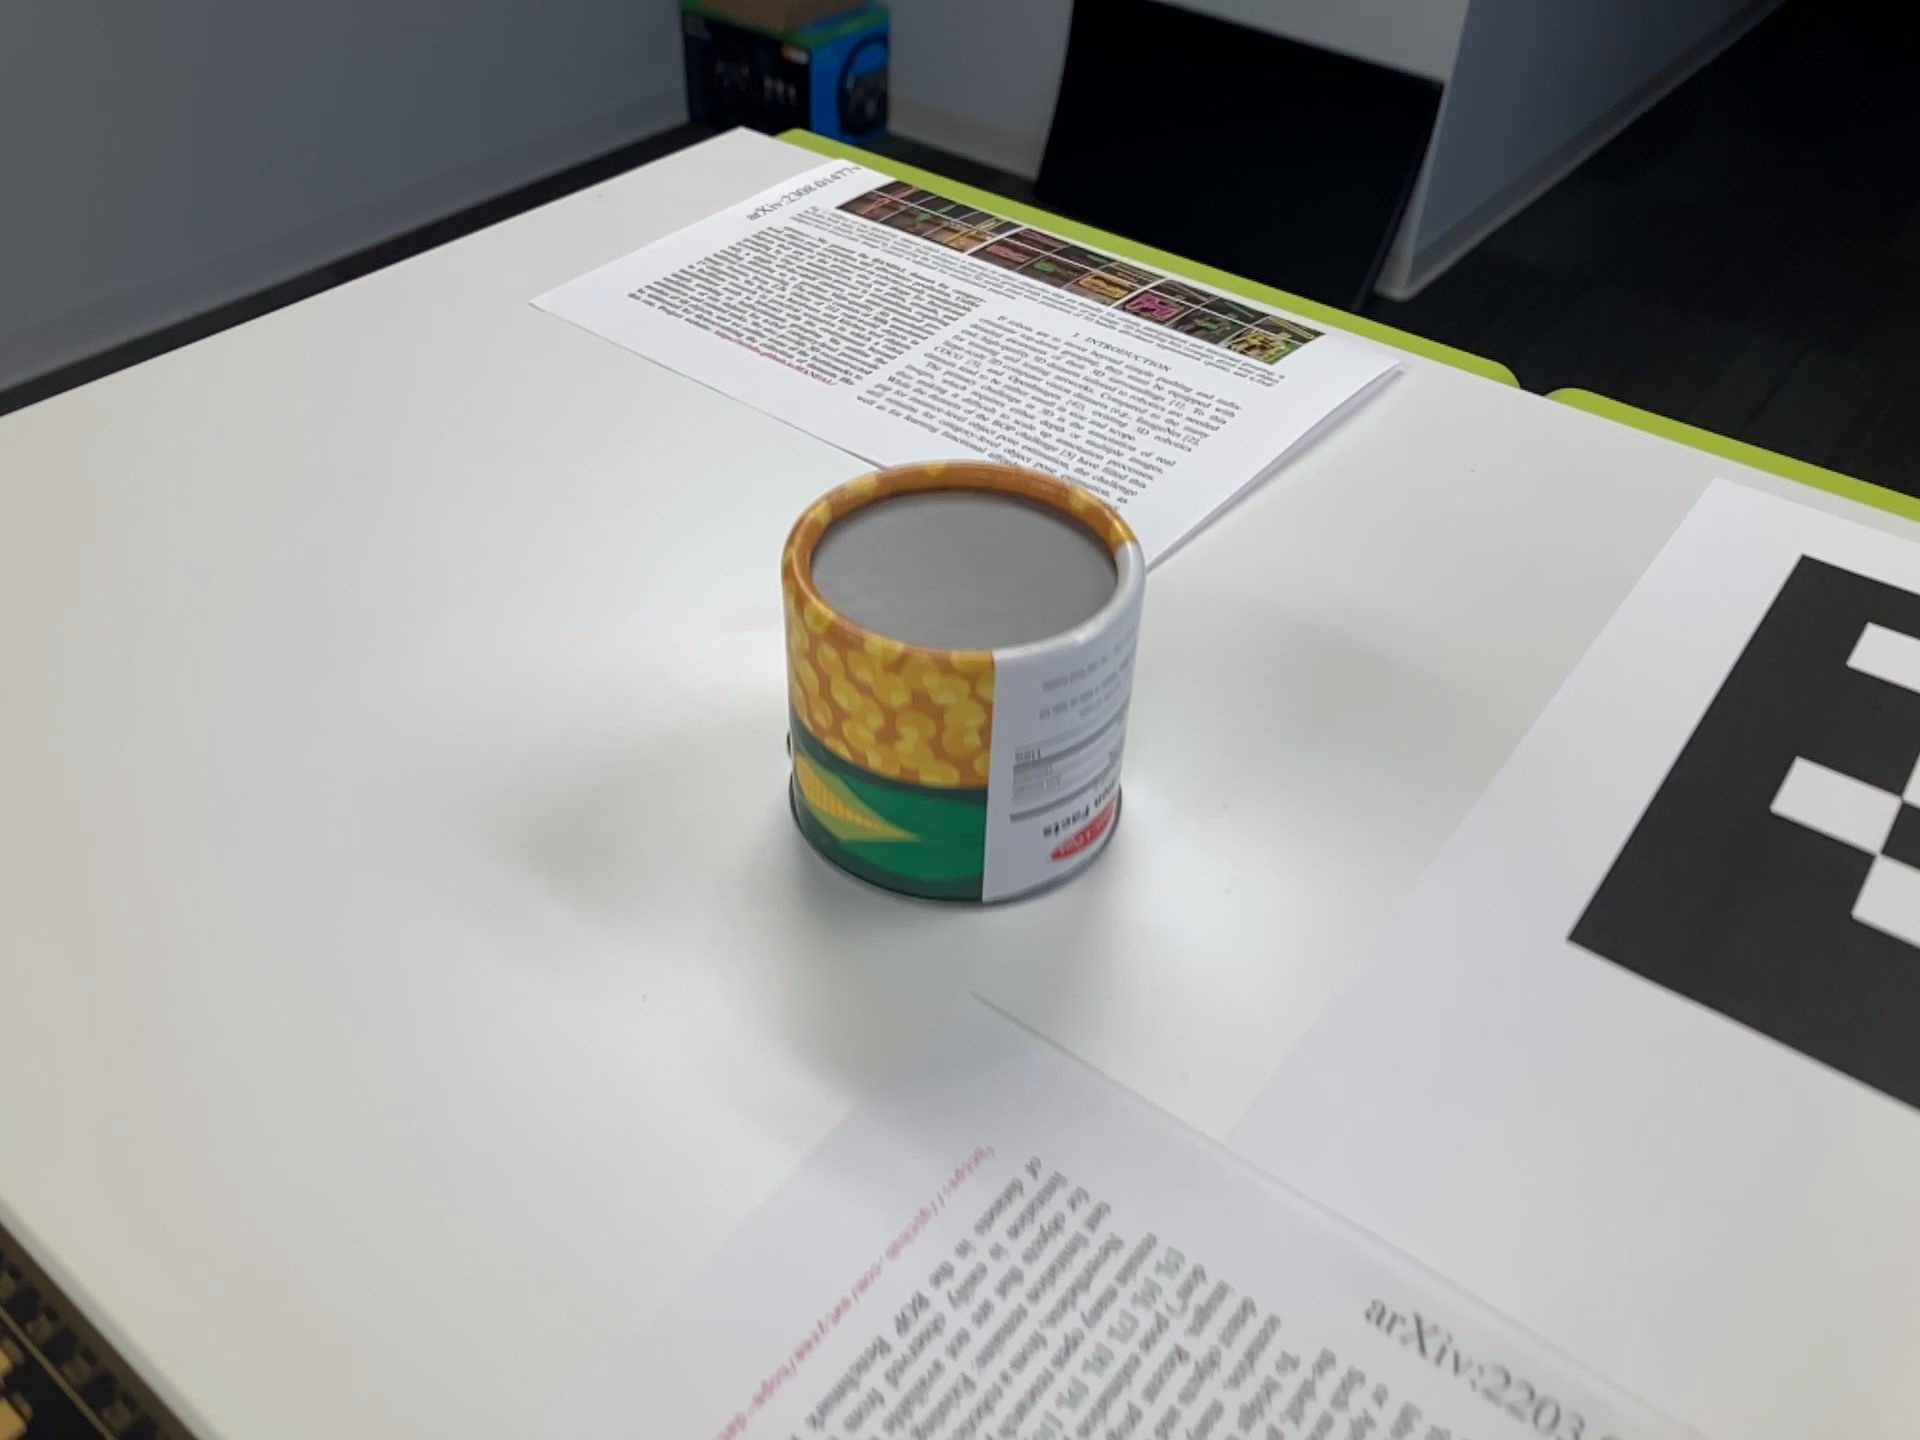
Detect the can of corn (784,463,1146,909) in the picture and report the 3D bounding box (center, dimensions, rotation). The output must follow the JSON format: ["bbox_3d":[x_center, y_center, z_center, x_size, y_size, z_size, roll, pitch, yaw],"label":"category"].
[{"bbox_3d":[-0.002,-0.009,0.303,0.071,0.058,0.071,1,40,-1],"label":"can of corn"}]
